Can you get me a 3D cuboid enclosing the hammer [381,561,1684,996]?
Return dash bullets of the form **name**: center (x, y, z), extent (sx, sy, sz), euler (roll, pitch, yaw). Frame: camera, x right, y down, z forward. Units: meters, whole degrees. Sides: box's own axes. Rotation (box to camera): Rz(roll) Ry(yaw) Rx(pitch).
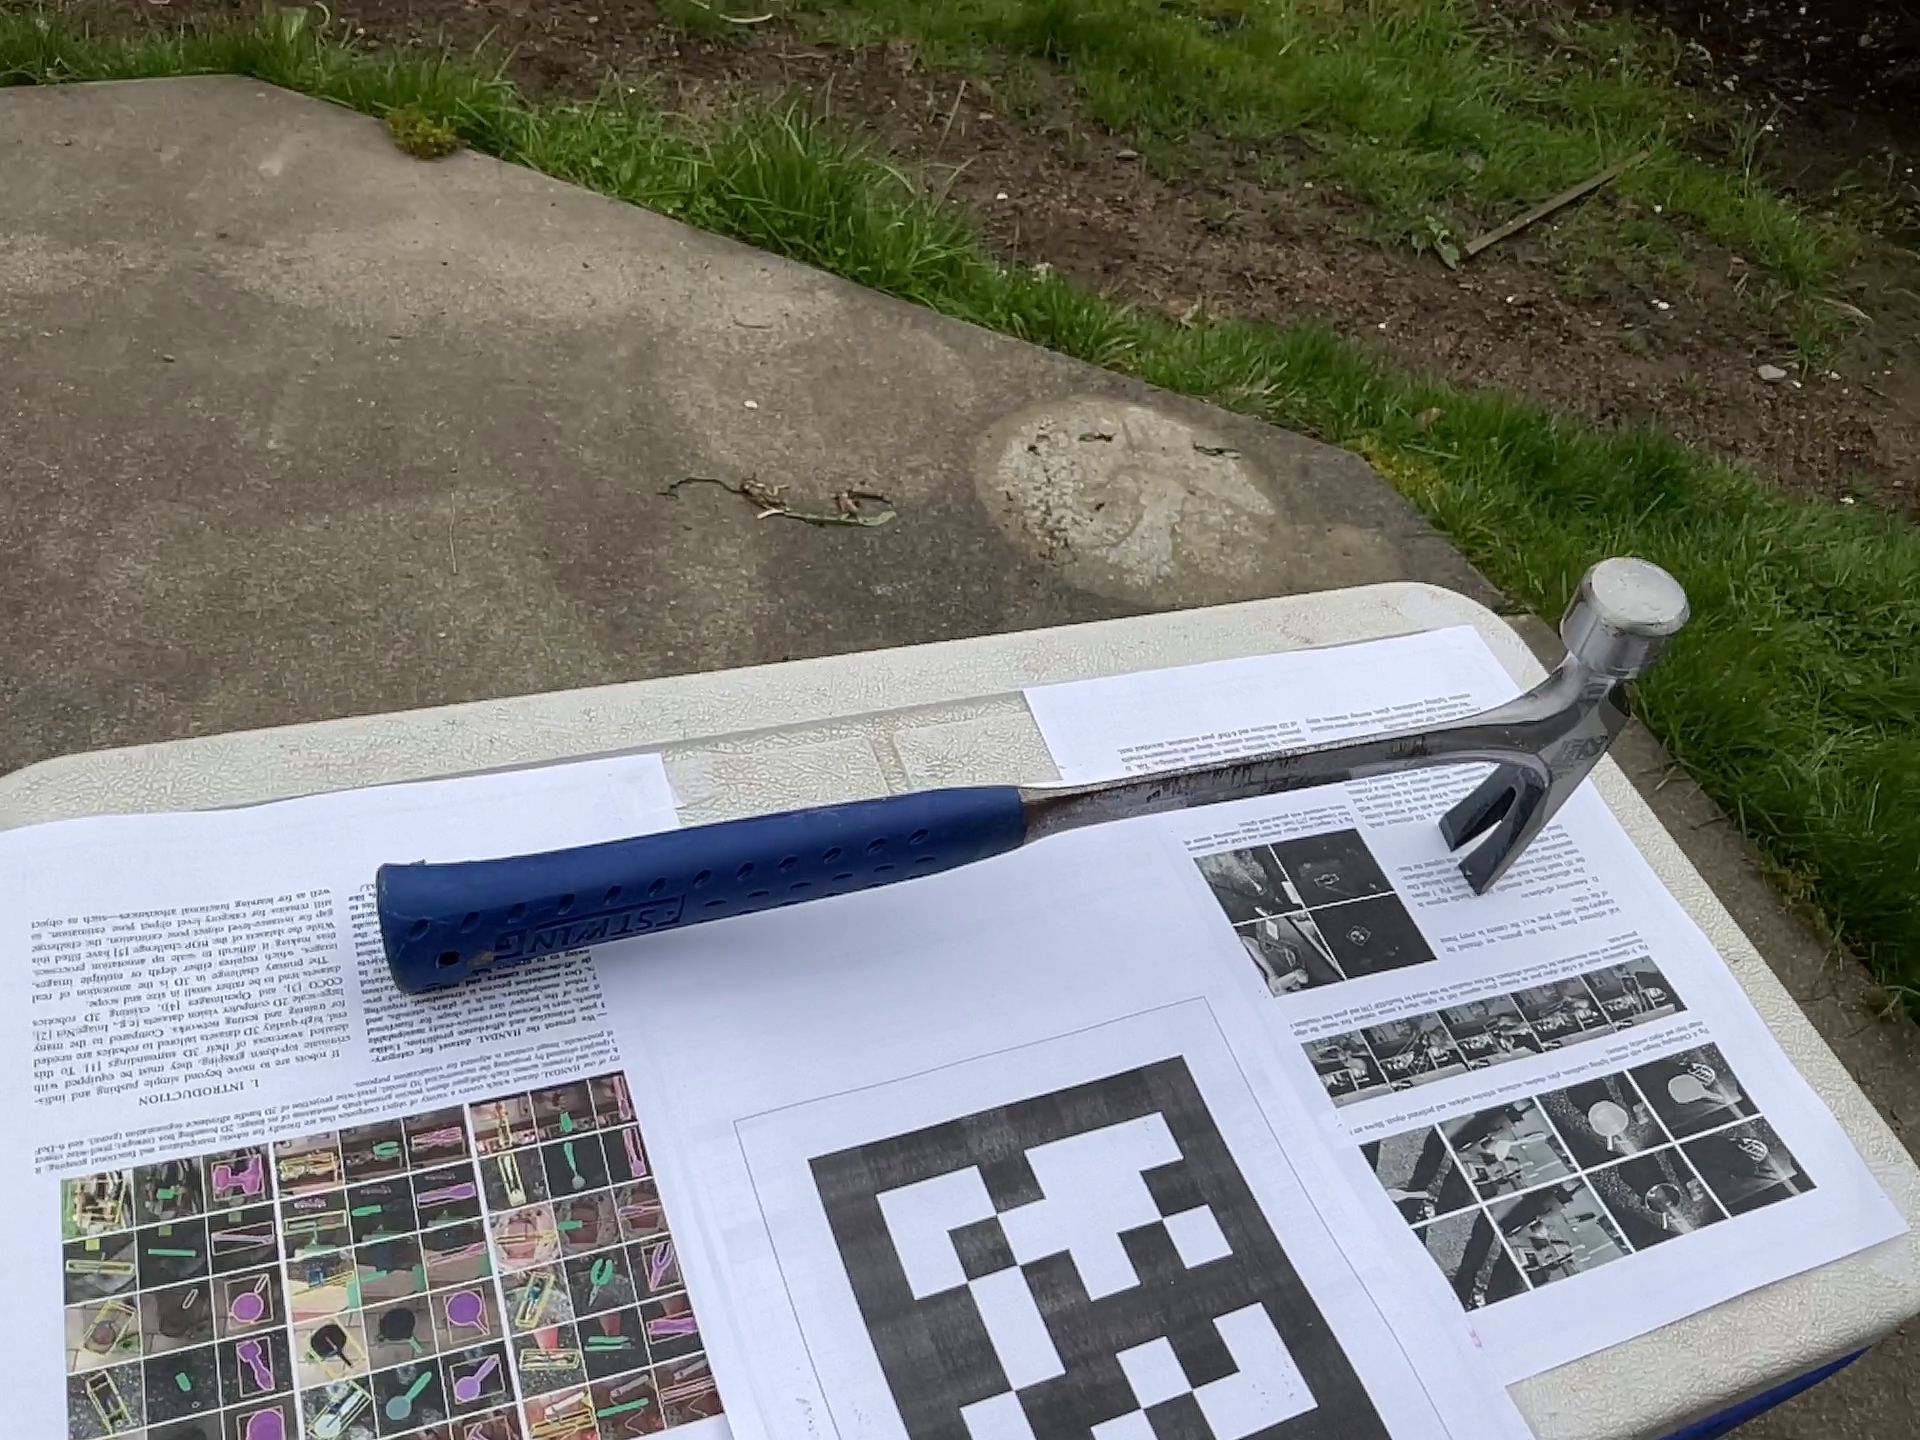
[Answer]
- **hammer**: center (0.029, 0.035, 0.517), extent (0.405, 0.144, 0.035), euler (-9, 51, -13)
